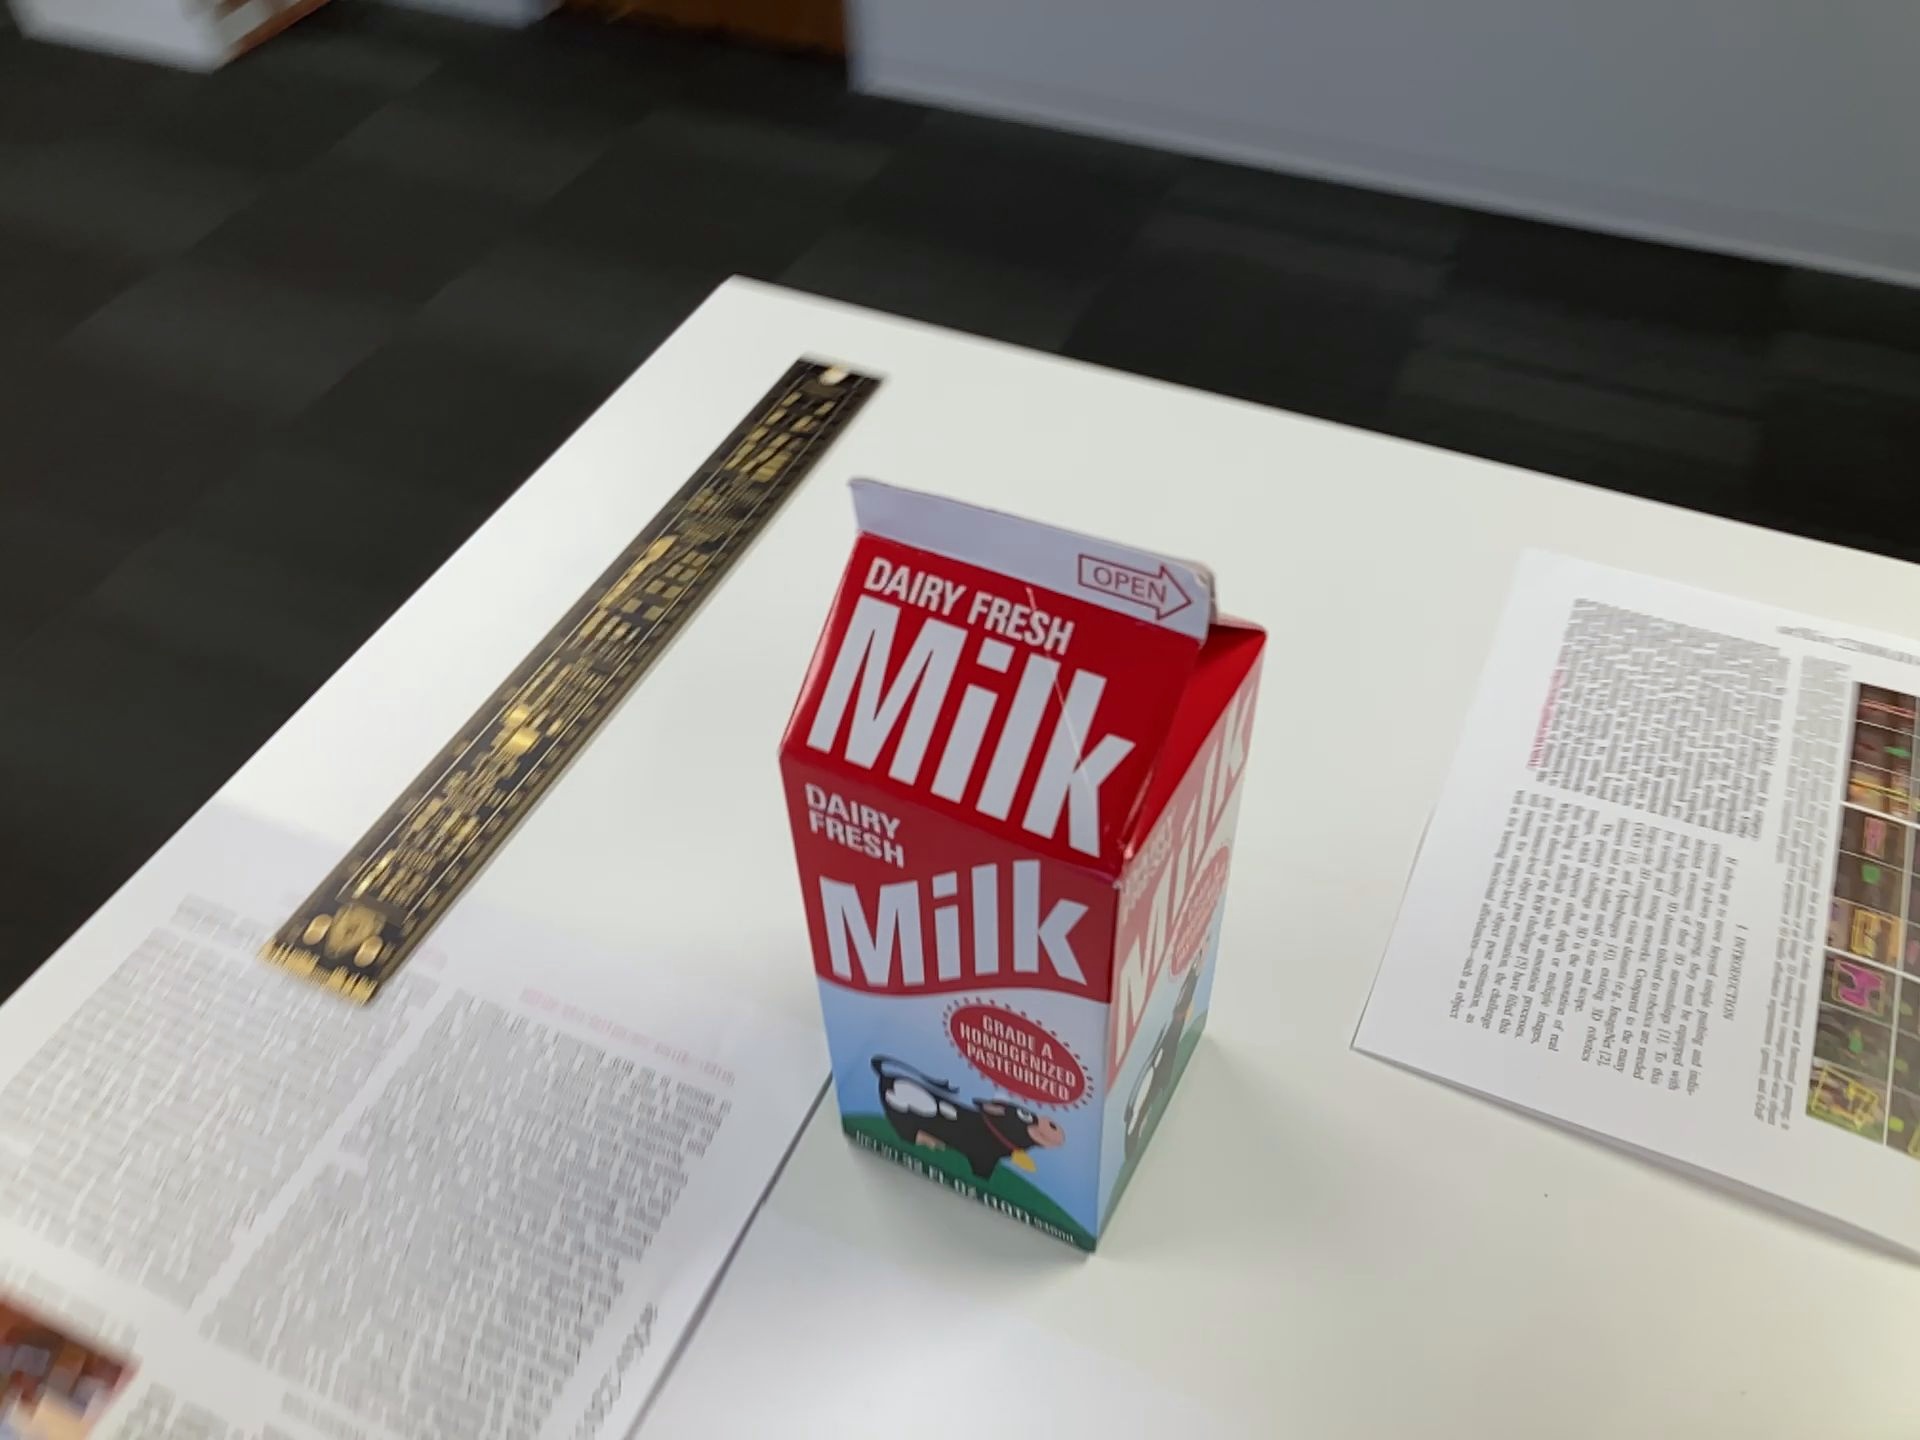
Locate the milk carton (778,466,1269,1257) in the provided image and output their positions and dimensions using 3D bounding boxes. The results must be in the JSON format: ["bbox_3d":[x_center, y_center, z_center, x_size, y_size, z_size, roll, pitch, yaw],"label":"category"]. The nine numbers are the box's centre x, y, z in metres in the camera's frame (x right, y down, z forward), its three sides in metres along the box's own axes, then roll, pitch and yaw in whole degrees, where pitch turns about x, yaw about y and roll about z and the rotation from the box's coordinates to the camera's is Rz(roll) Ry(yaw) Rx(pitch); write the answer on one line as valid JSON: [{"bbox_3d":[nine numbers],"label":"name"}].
[{"bbox_3d":[0.015,0.030,0.341,0.072,0.190,0.073,20,51,20],"label":"milk carton"}]
